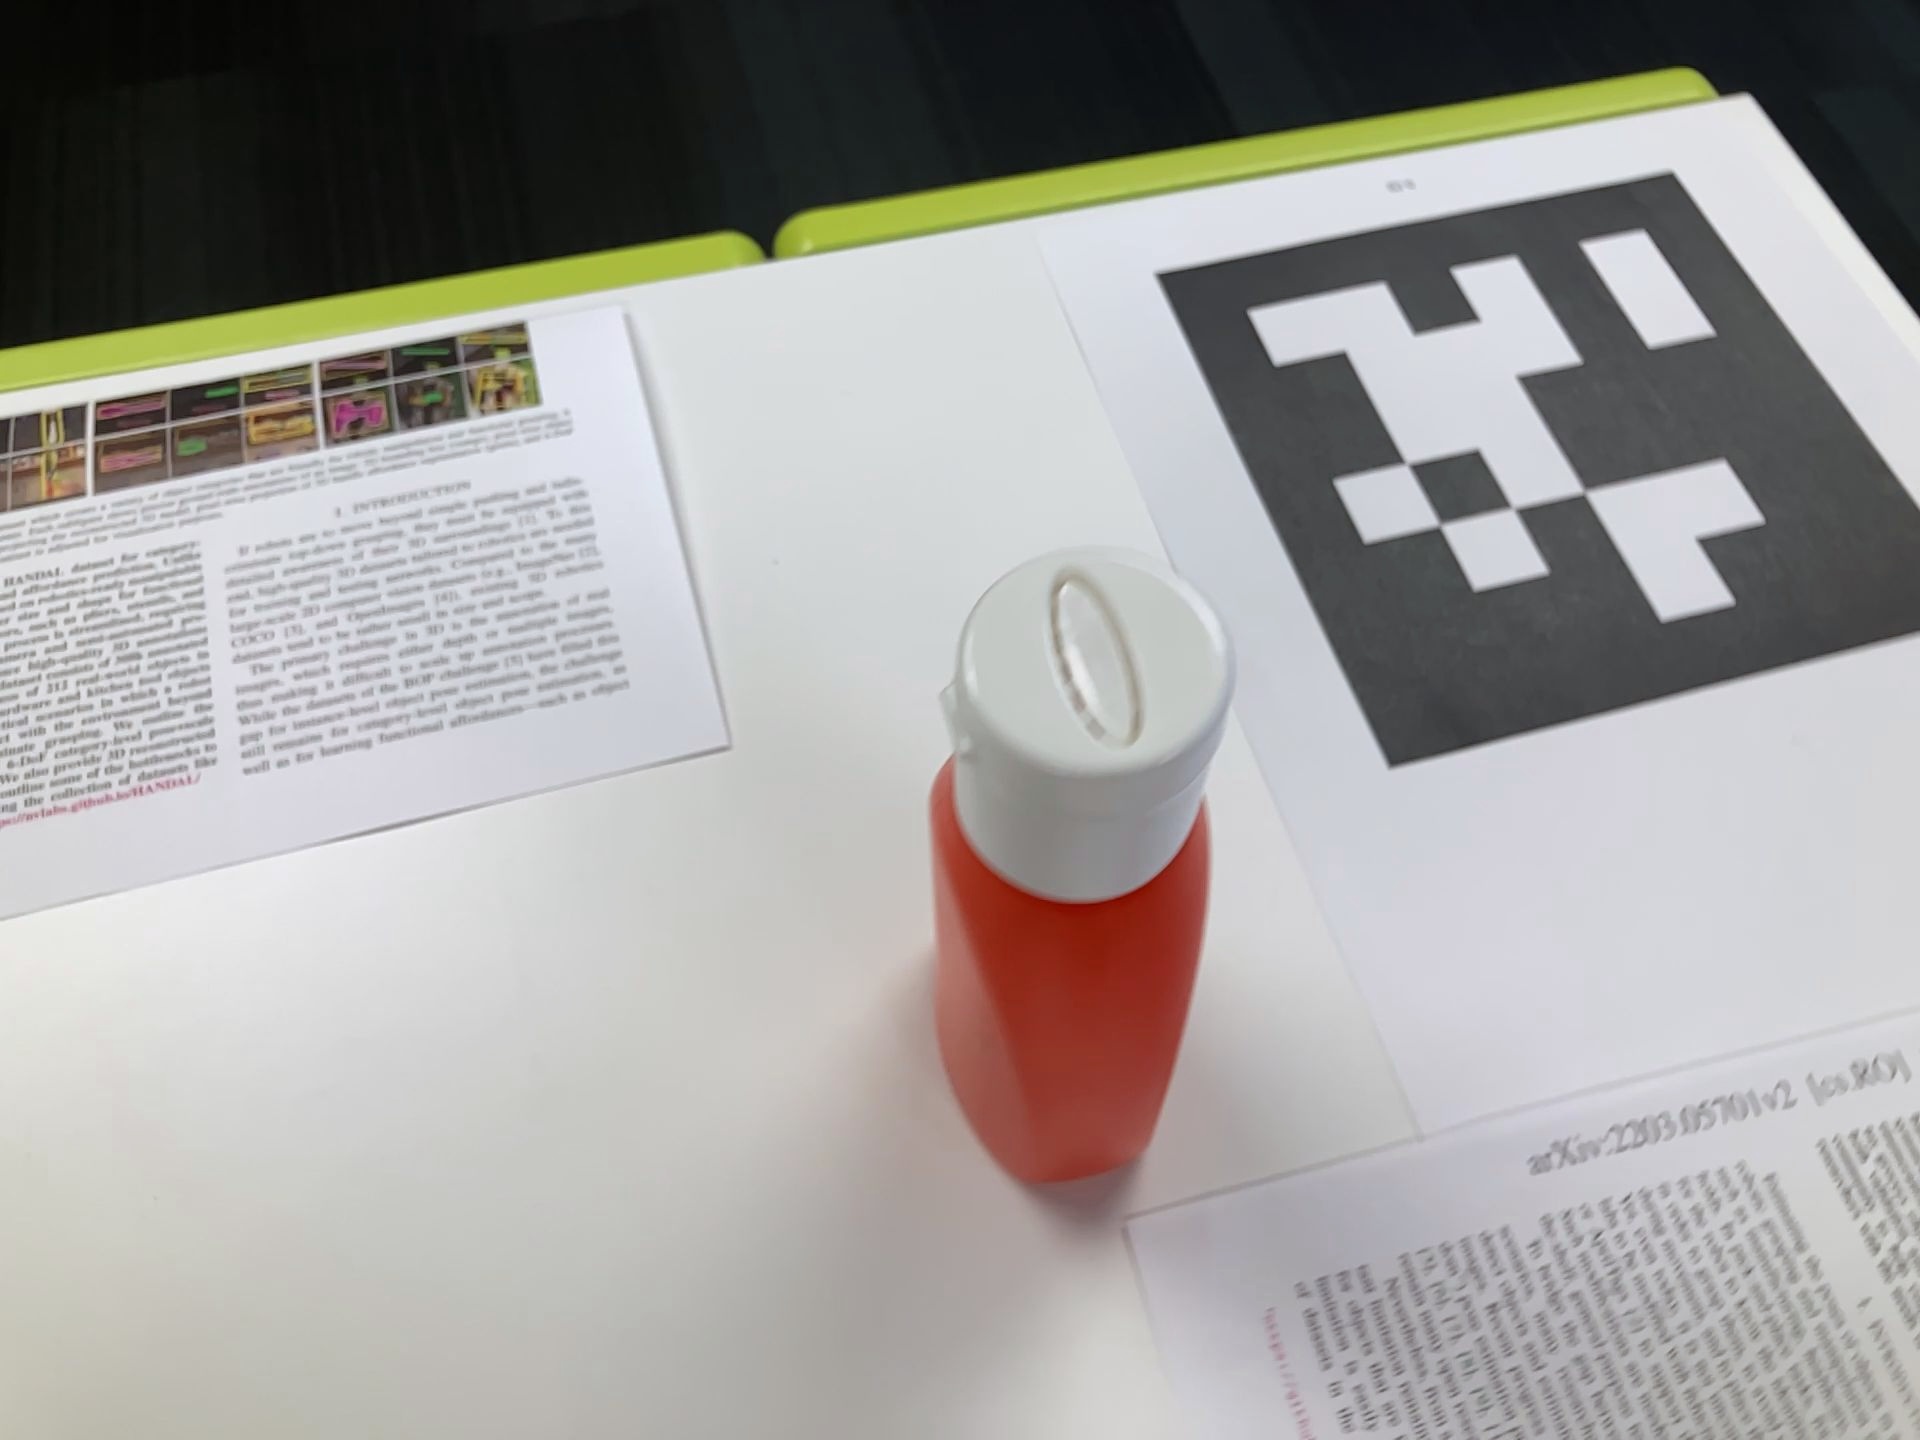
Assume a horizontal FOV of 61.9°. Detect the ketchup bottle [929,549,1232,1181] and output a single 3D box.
[{"bbox_3d":[0.017,0.029,0.270,0.043,0.149,0.065,-12,61,-6],"label":"ketchup bottle"}]
